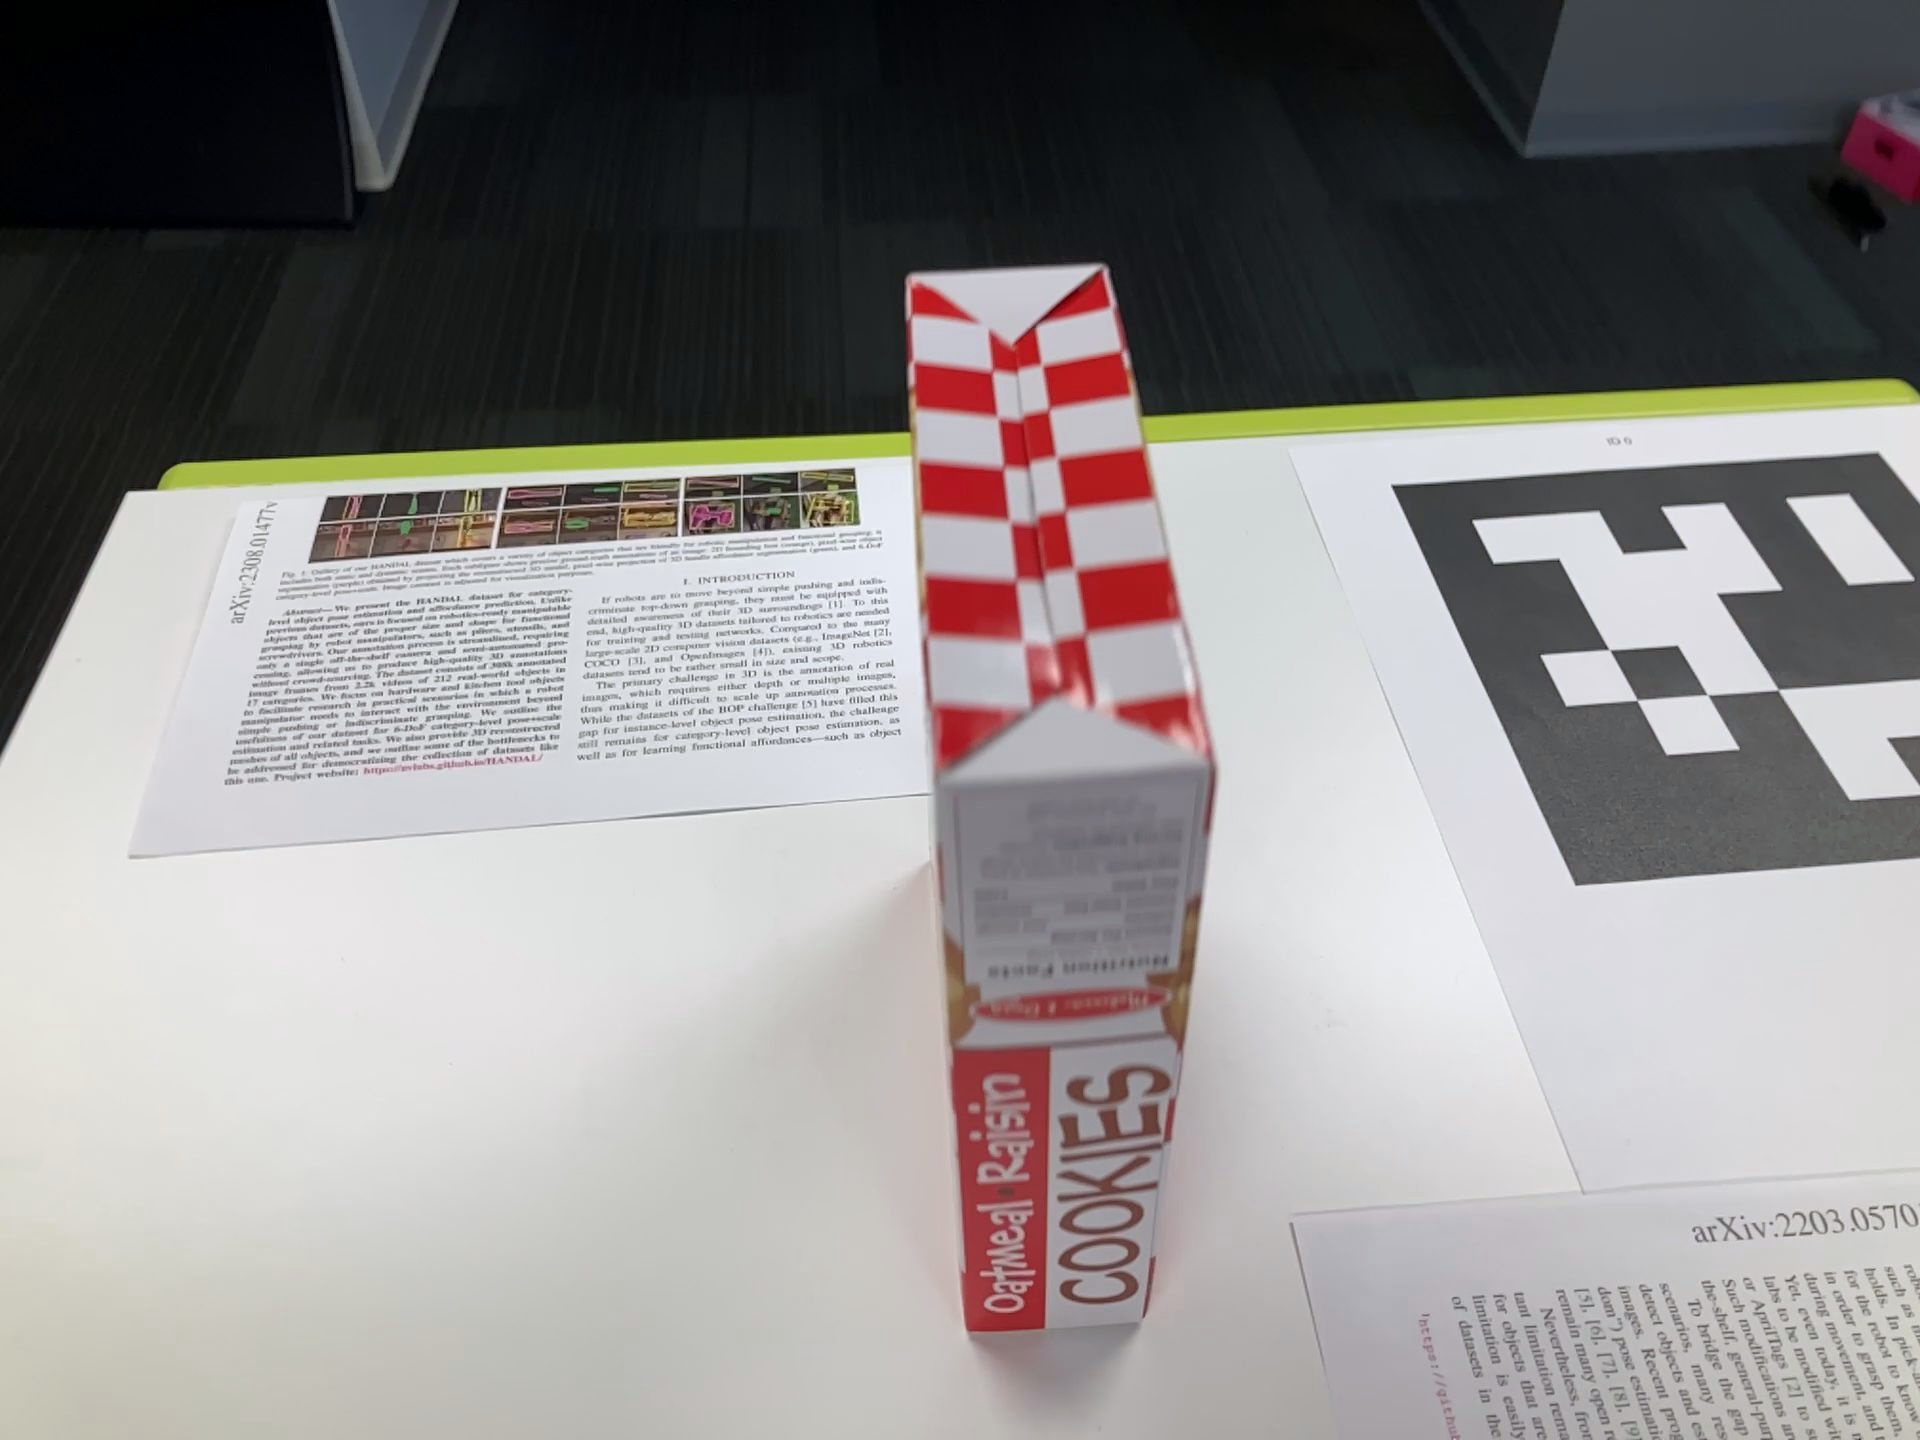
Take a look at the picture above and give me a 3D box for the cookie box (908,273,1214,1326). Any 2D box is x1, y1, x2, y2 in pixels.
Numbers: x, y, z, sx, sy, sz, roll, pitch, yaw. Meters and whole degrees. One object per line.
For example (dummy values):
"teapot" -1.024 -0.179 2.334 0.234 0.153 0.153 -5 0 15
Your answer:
"cookie box" 0.014 0.021 0.303 0.040 0.167 0.123 -3 45 -2
